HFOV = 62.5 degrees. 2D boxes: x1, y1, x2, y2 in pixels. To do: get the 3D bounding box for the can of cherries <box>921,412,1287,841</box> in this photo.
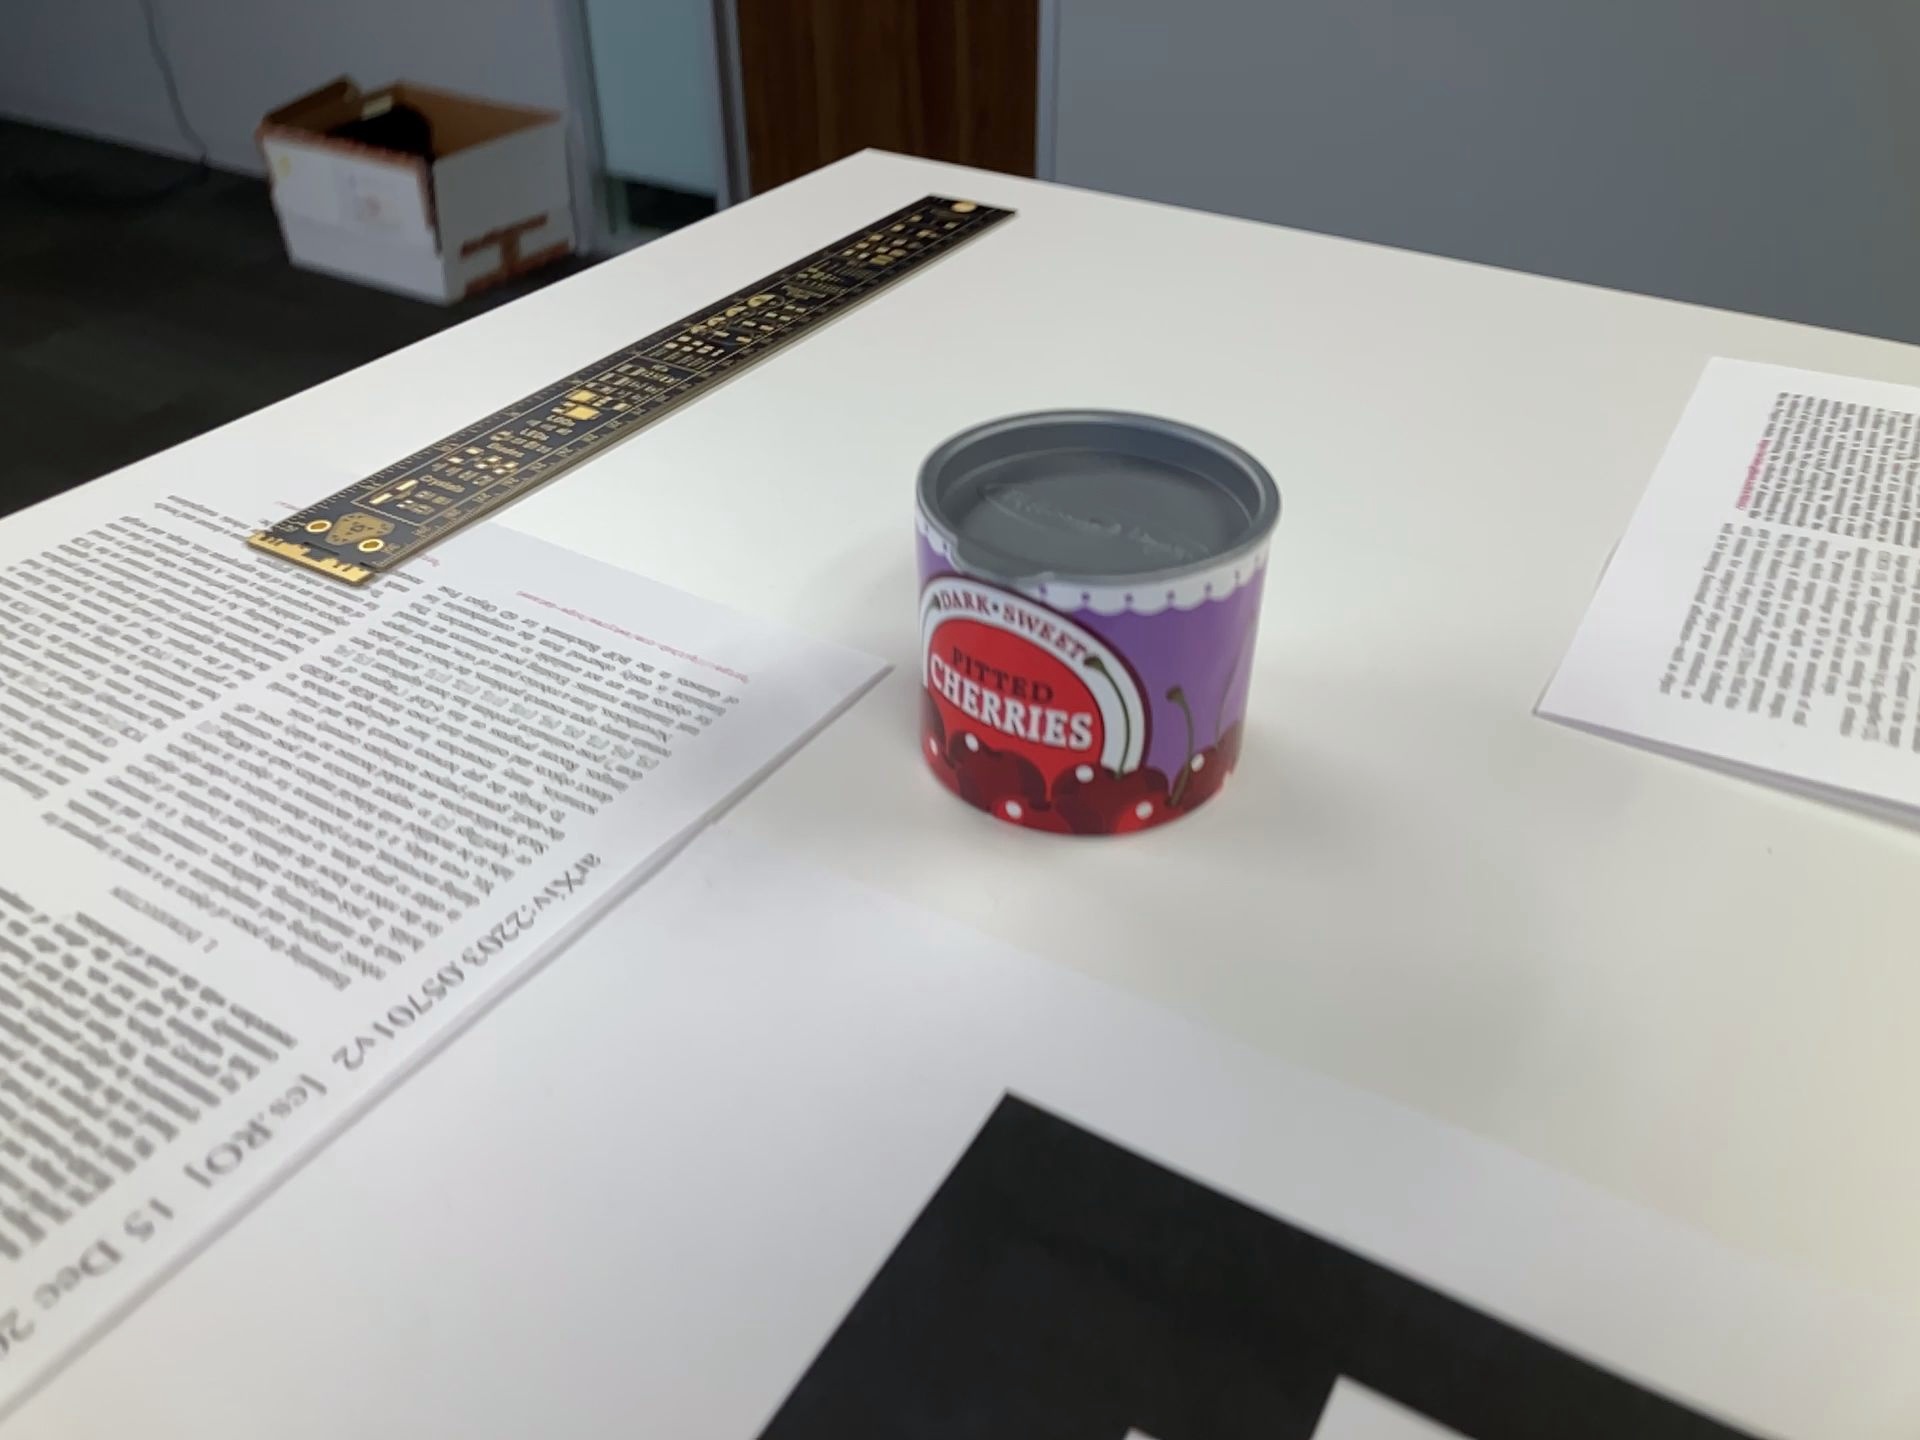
[{"bbox_3d":[0.024,-0.018,0.302,0.071,0.058,0.071,1,36,0],"label":"can of cherries"}]
